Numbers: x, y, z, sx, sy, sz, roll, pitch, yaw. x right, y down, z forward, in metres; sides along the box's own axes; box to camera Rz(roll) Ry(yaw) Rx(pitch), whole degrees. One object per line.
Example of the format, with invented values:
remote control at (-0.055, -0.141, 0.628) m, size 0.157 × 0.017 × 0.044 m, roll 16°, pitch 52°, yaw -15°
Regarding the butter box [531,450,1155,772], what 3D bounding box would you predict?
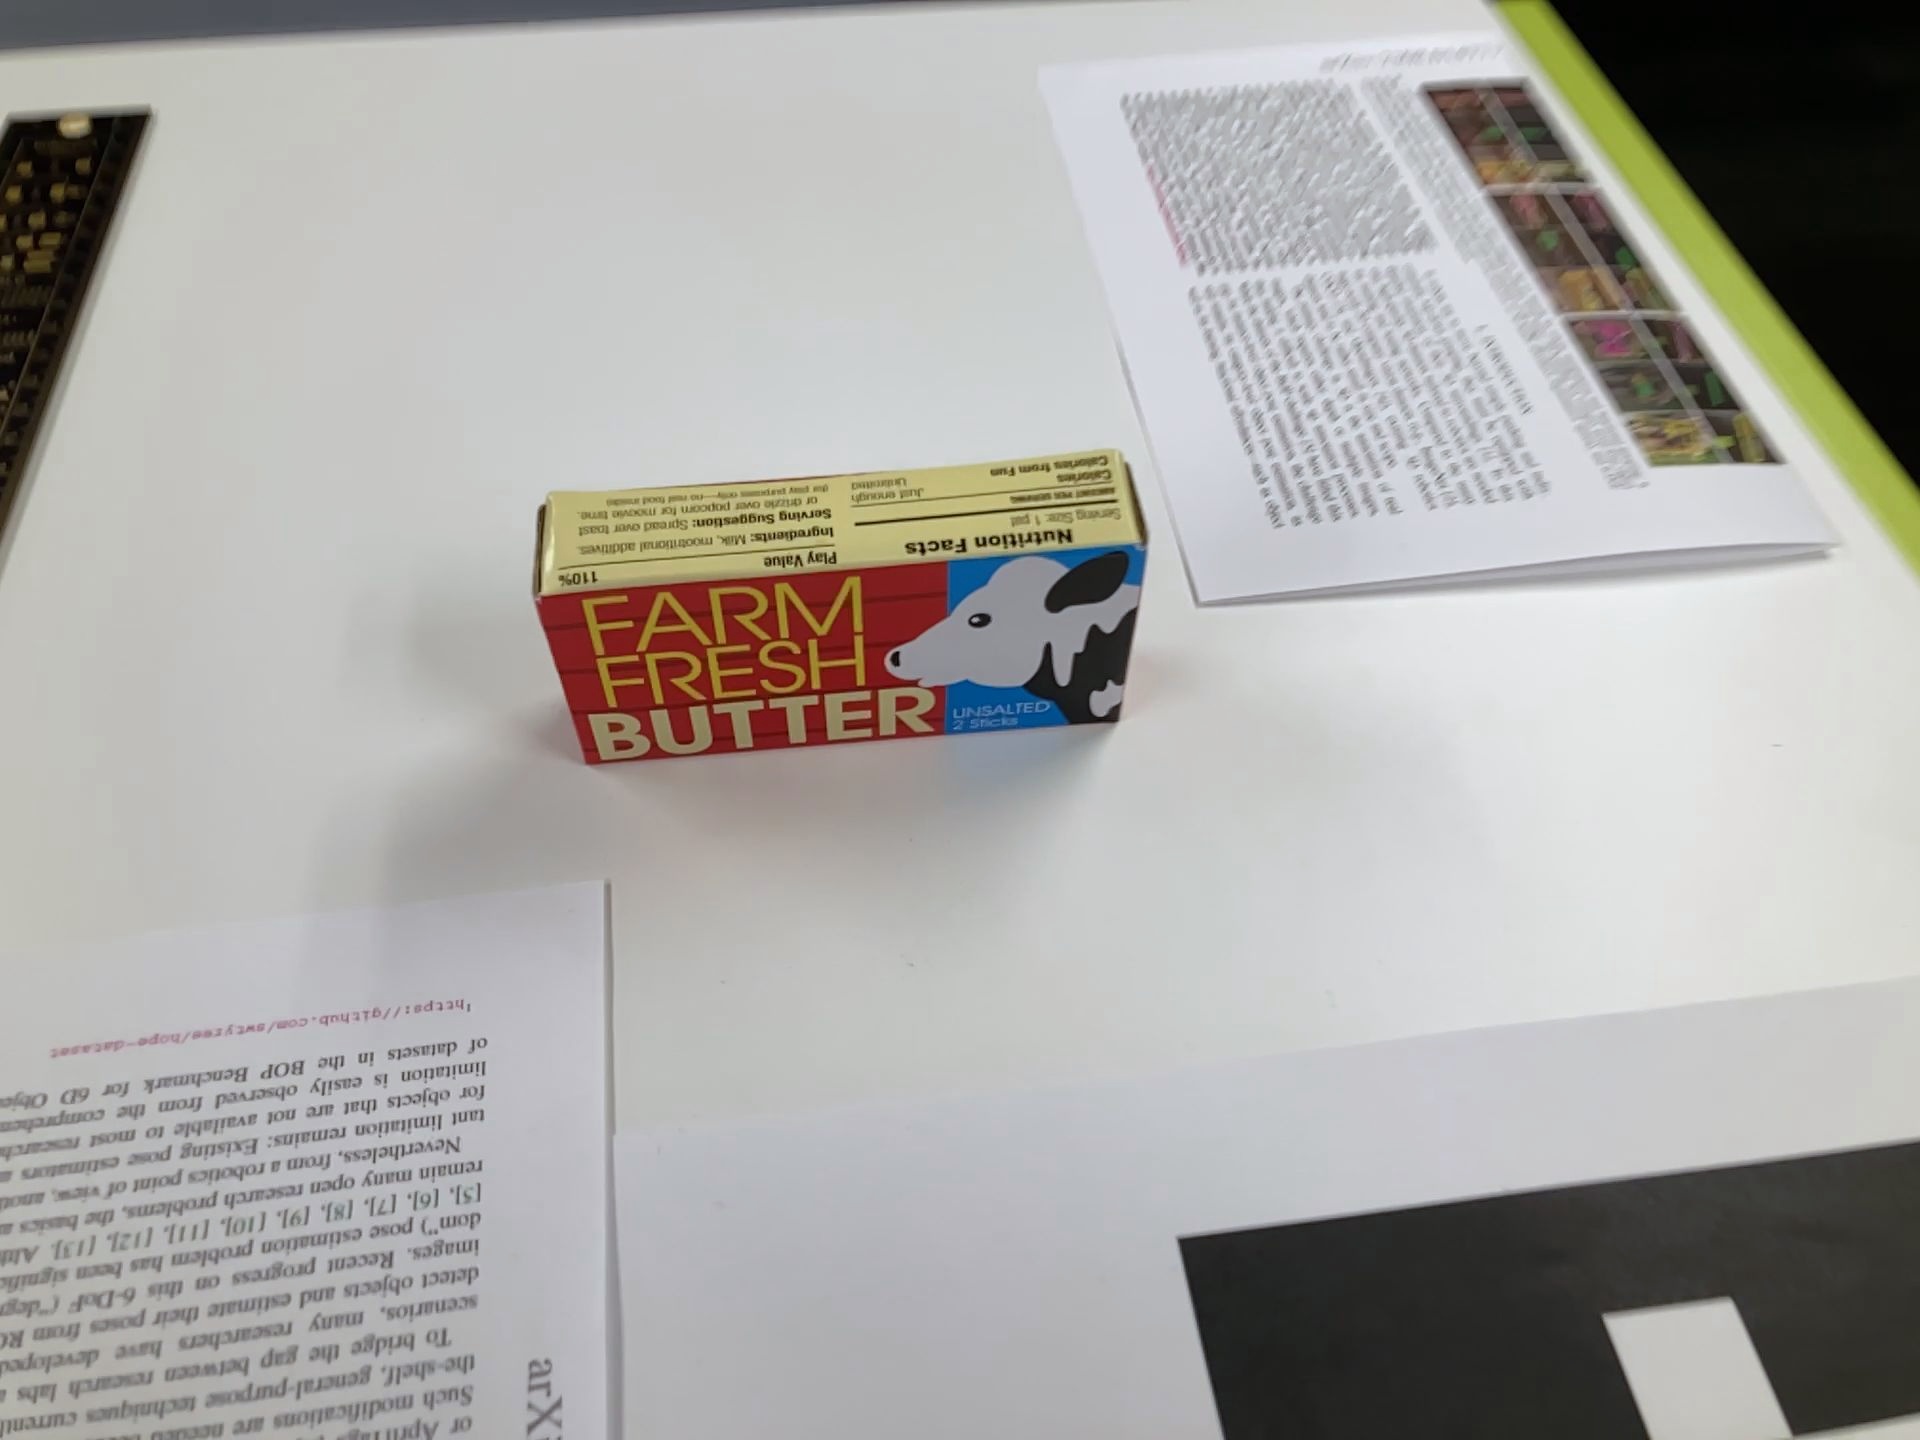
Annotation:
butter box at (-0.021, -0.019, 0.285) m, size 0.103 × 0.053 × 0.024 m, roll -5°, pitch 54°, yaw -5°
